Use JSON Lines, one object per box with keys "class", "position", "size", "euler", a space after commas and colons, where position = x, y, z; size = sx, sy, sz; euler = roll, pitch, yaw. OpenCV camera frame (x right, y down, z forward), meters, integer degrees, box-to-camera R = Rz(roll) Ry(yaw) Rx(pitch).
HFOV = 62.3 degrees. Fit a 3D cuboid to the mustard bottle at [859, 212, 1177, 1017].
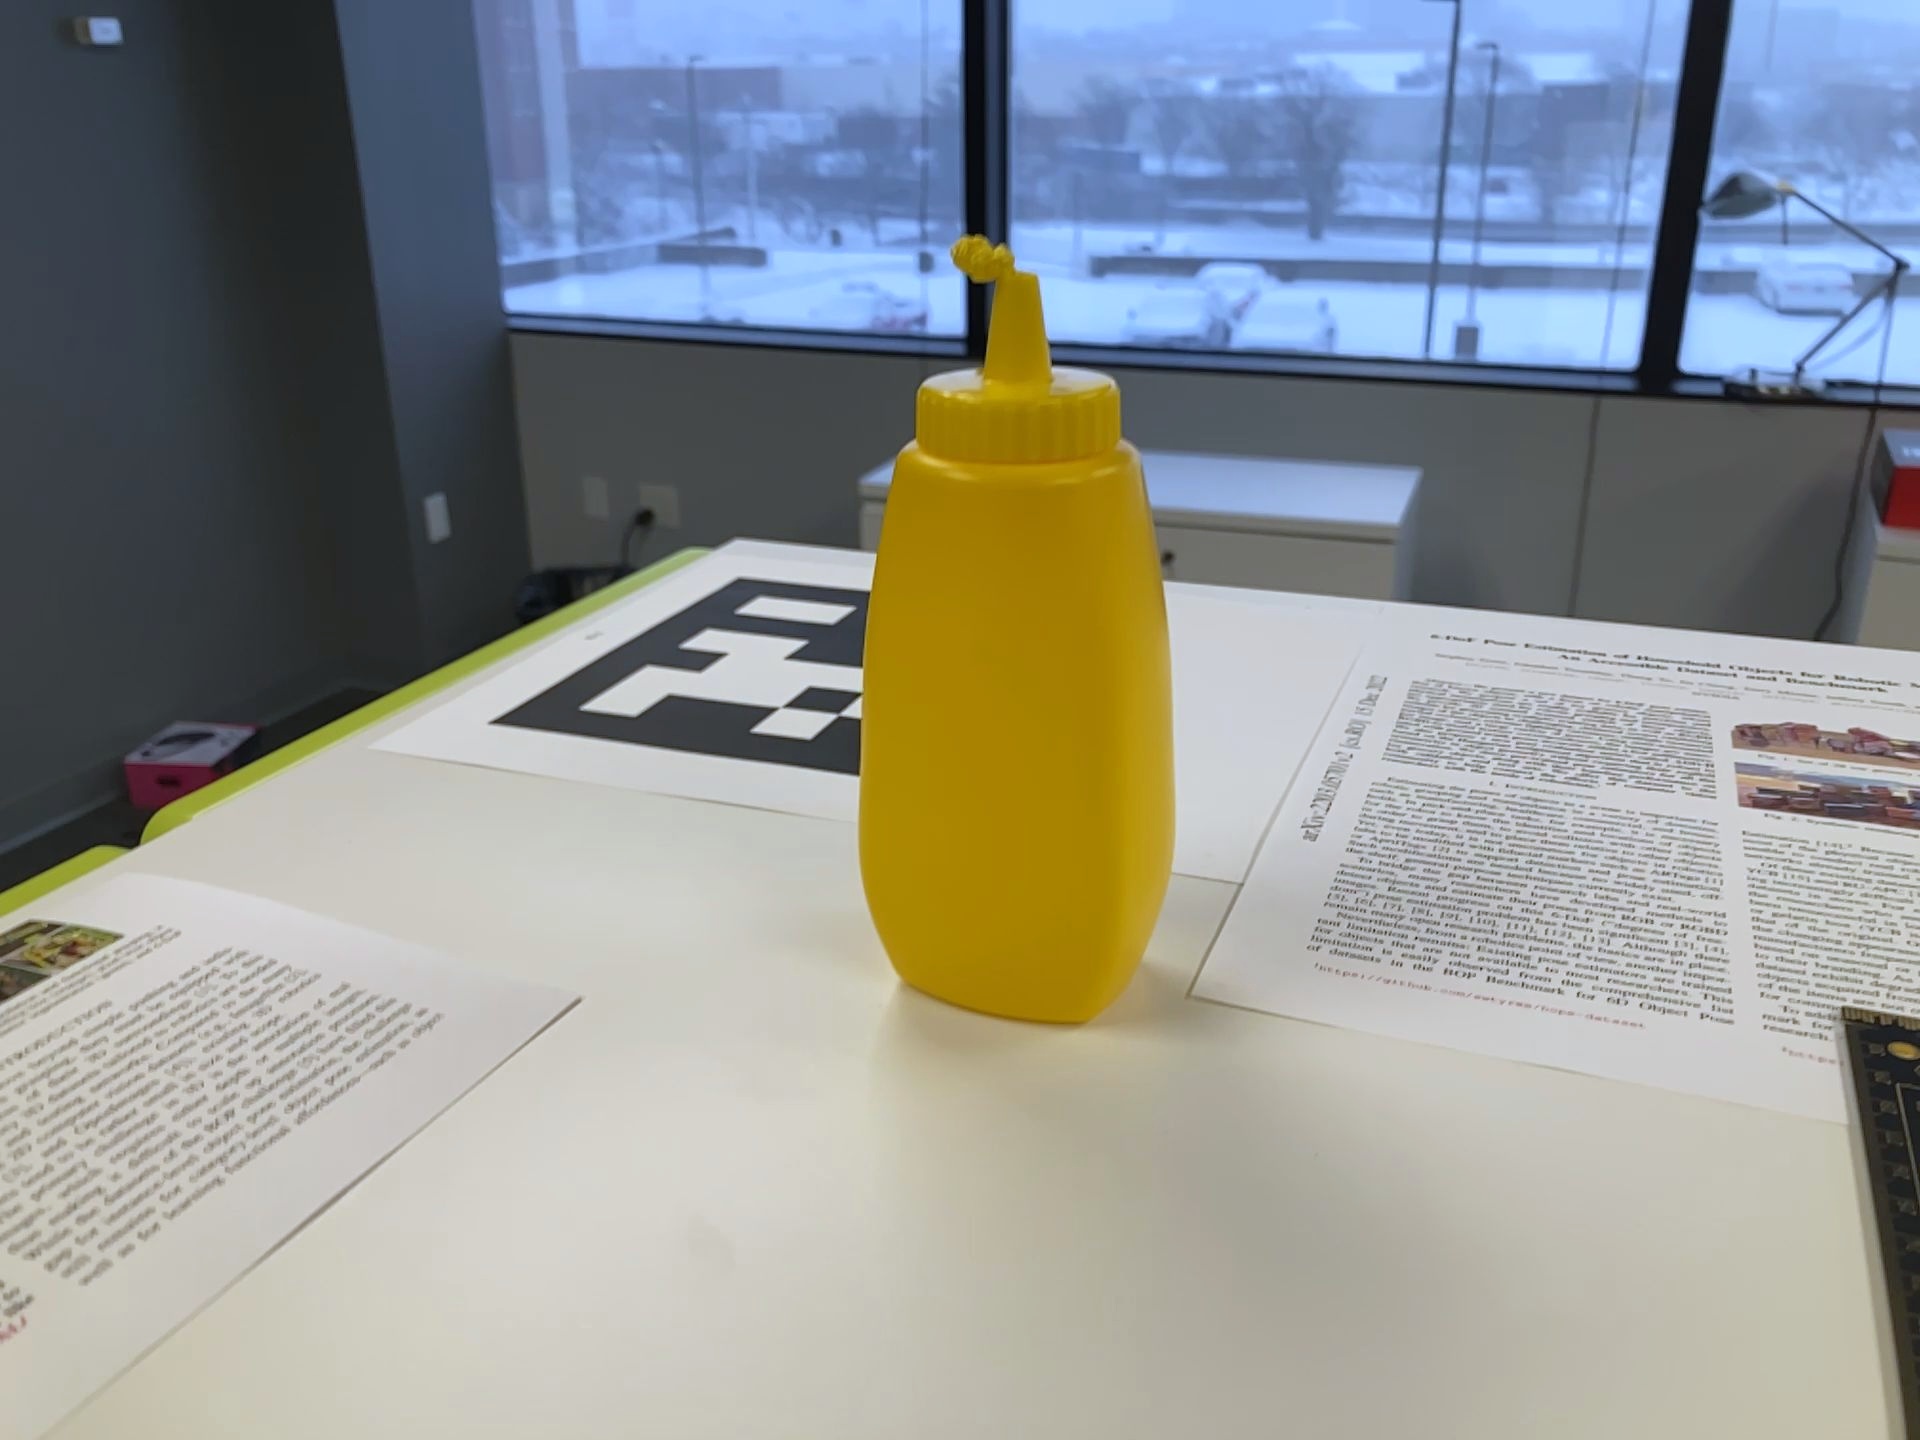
{"class": "mustard bottle", "position": [0.013, -0.020, 0.324], "size": [0.065, 0.160, 0.049], "euler": [10, 23, 24]}
